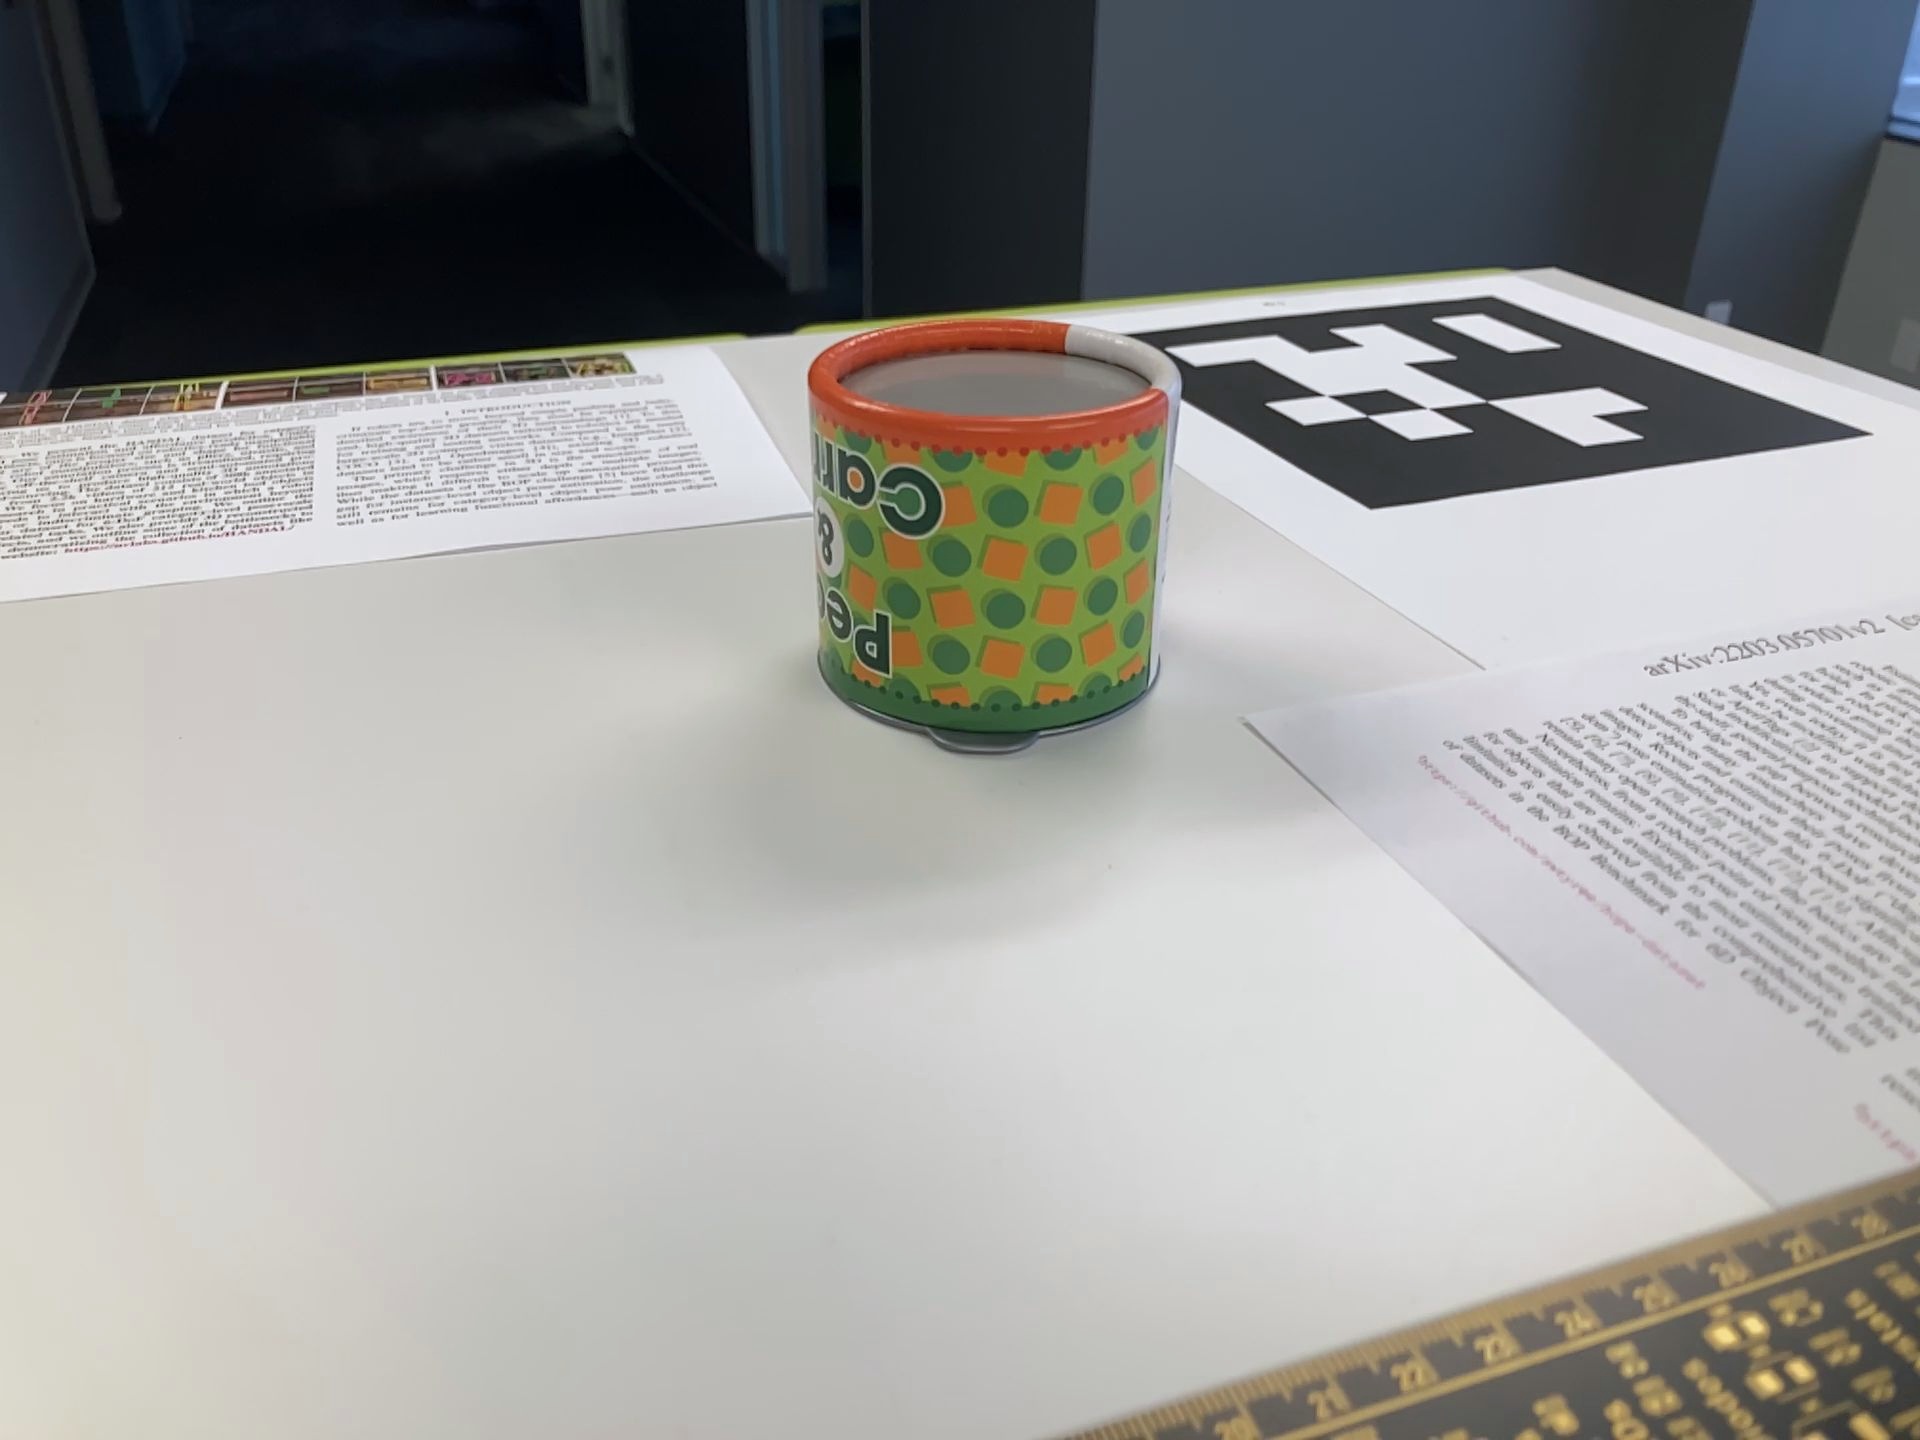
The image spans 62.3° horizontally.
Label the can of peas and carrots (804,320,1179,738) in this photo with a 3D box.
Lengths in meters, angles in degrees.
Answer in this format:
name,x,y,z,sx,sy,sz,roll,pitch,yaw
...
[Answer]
name,x,y,z,sx,sy,sz,roll,pitch,yaw
can of peas and carrots,0.004,-0.037,0.295,0.071,0.059,0.071,0,28,0
